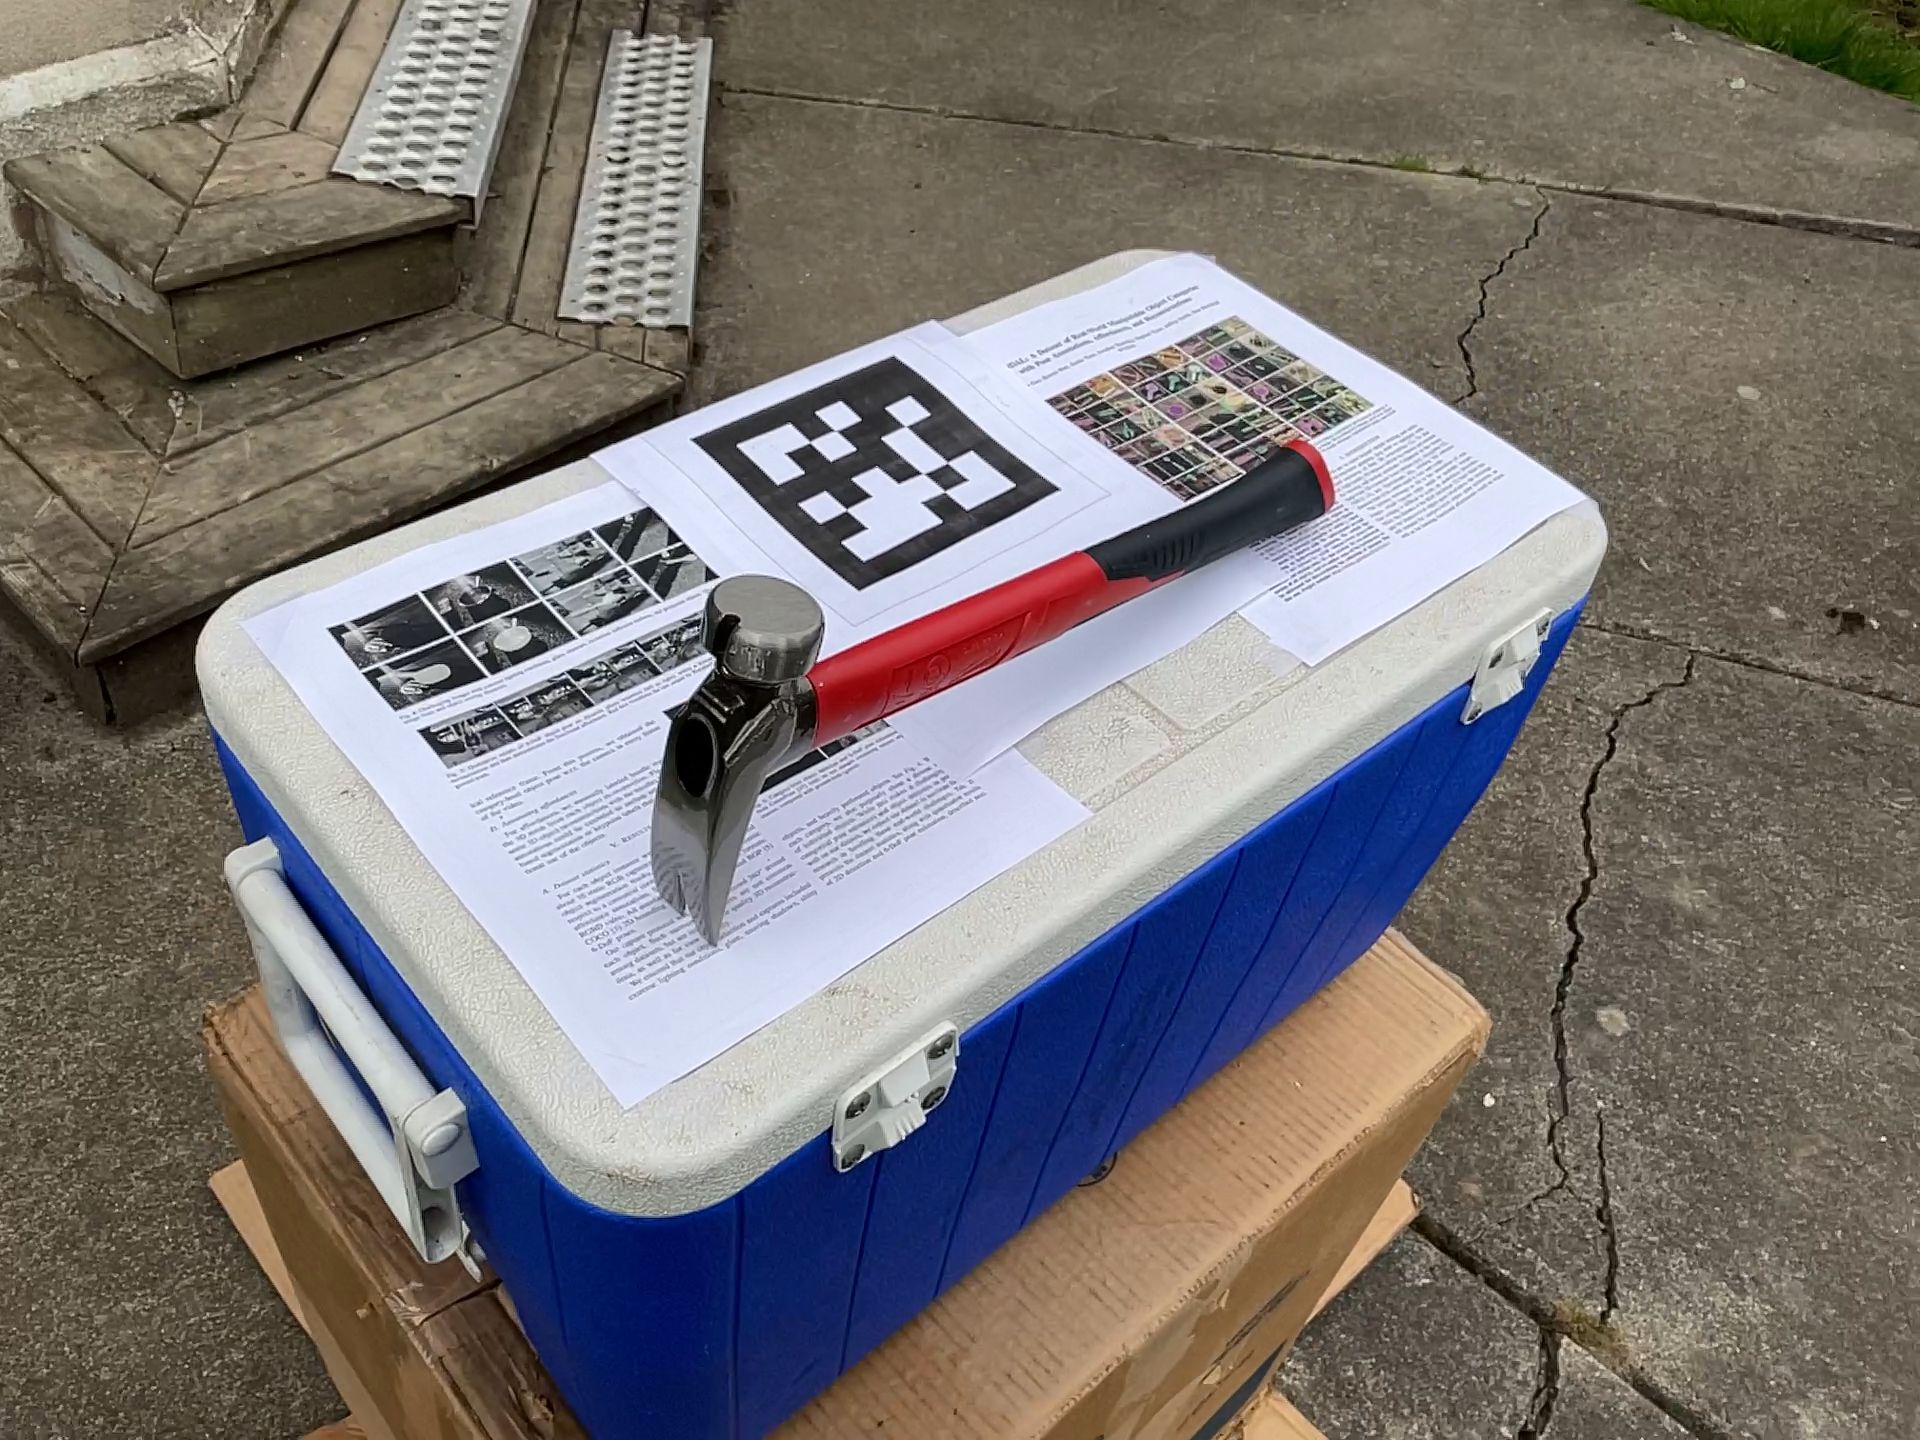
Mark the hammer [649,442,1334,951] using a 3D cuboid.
[{"bbox_3d":[0.036,-0.037,0.653,0.038,0.143,0.386,38,41,24],"label":"hammer"}]
